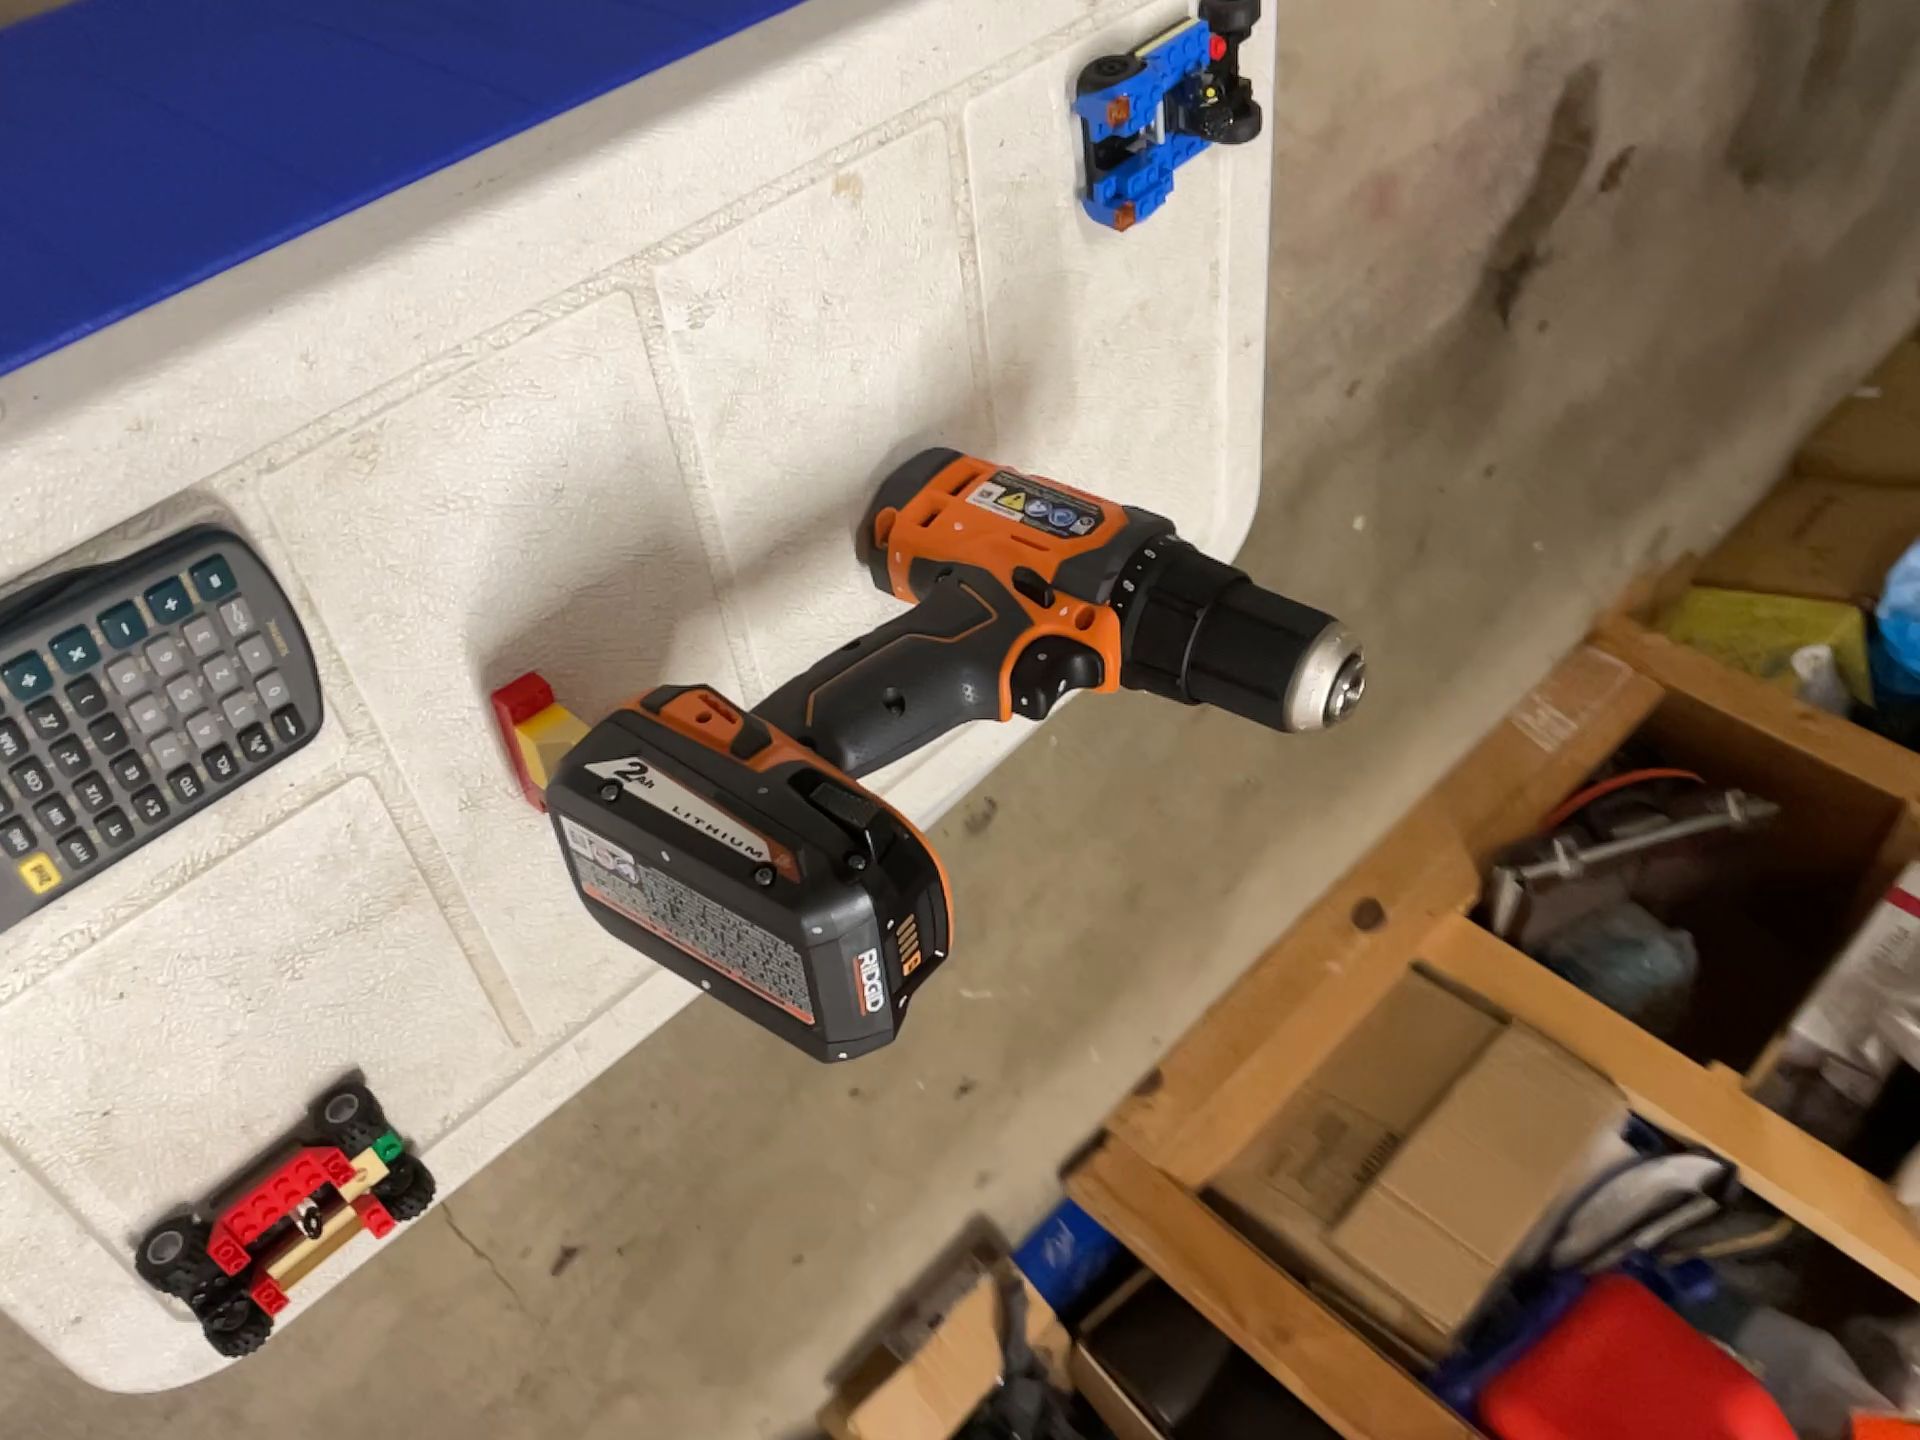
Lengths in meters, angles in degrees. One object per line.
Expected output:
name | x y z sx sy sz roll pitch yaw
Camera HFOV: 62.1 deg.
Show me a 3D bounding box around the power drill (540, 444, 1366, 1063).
power drill | 0.006 0.003 0.515 0.226 0.185 0.084 -44 146 -35
